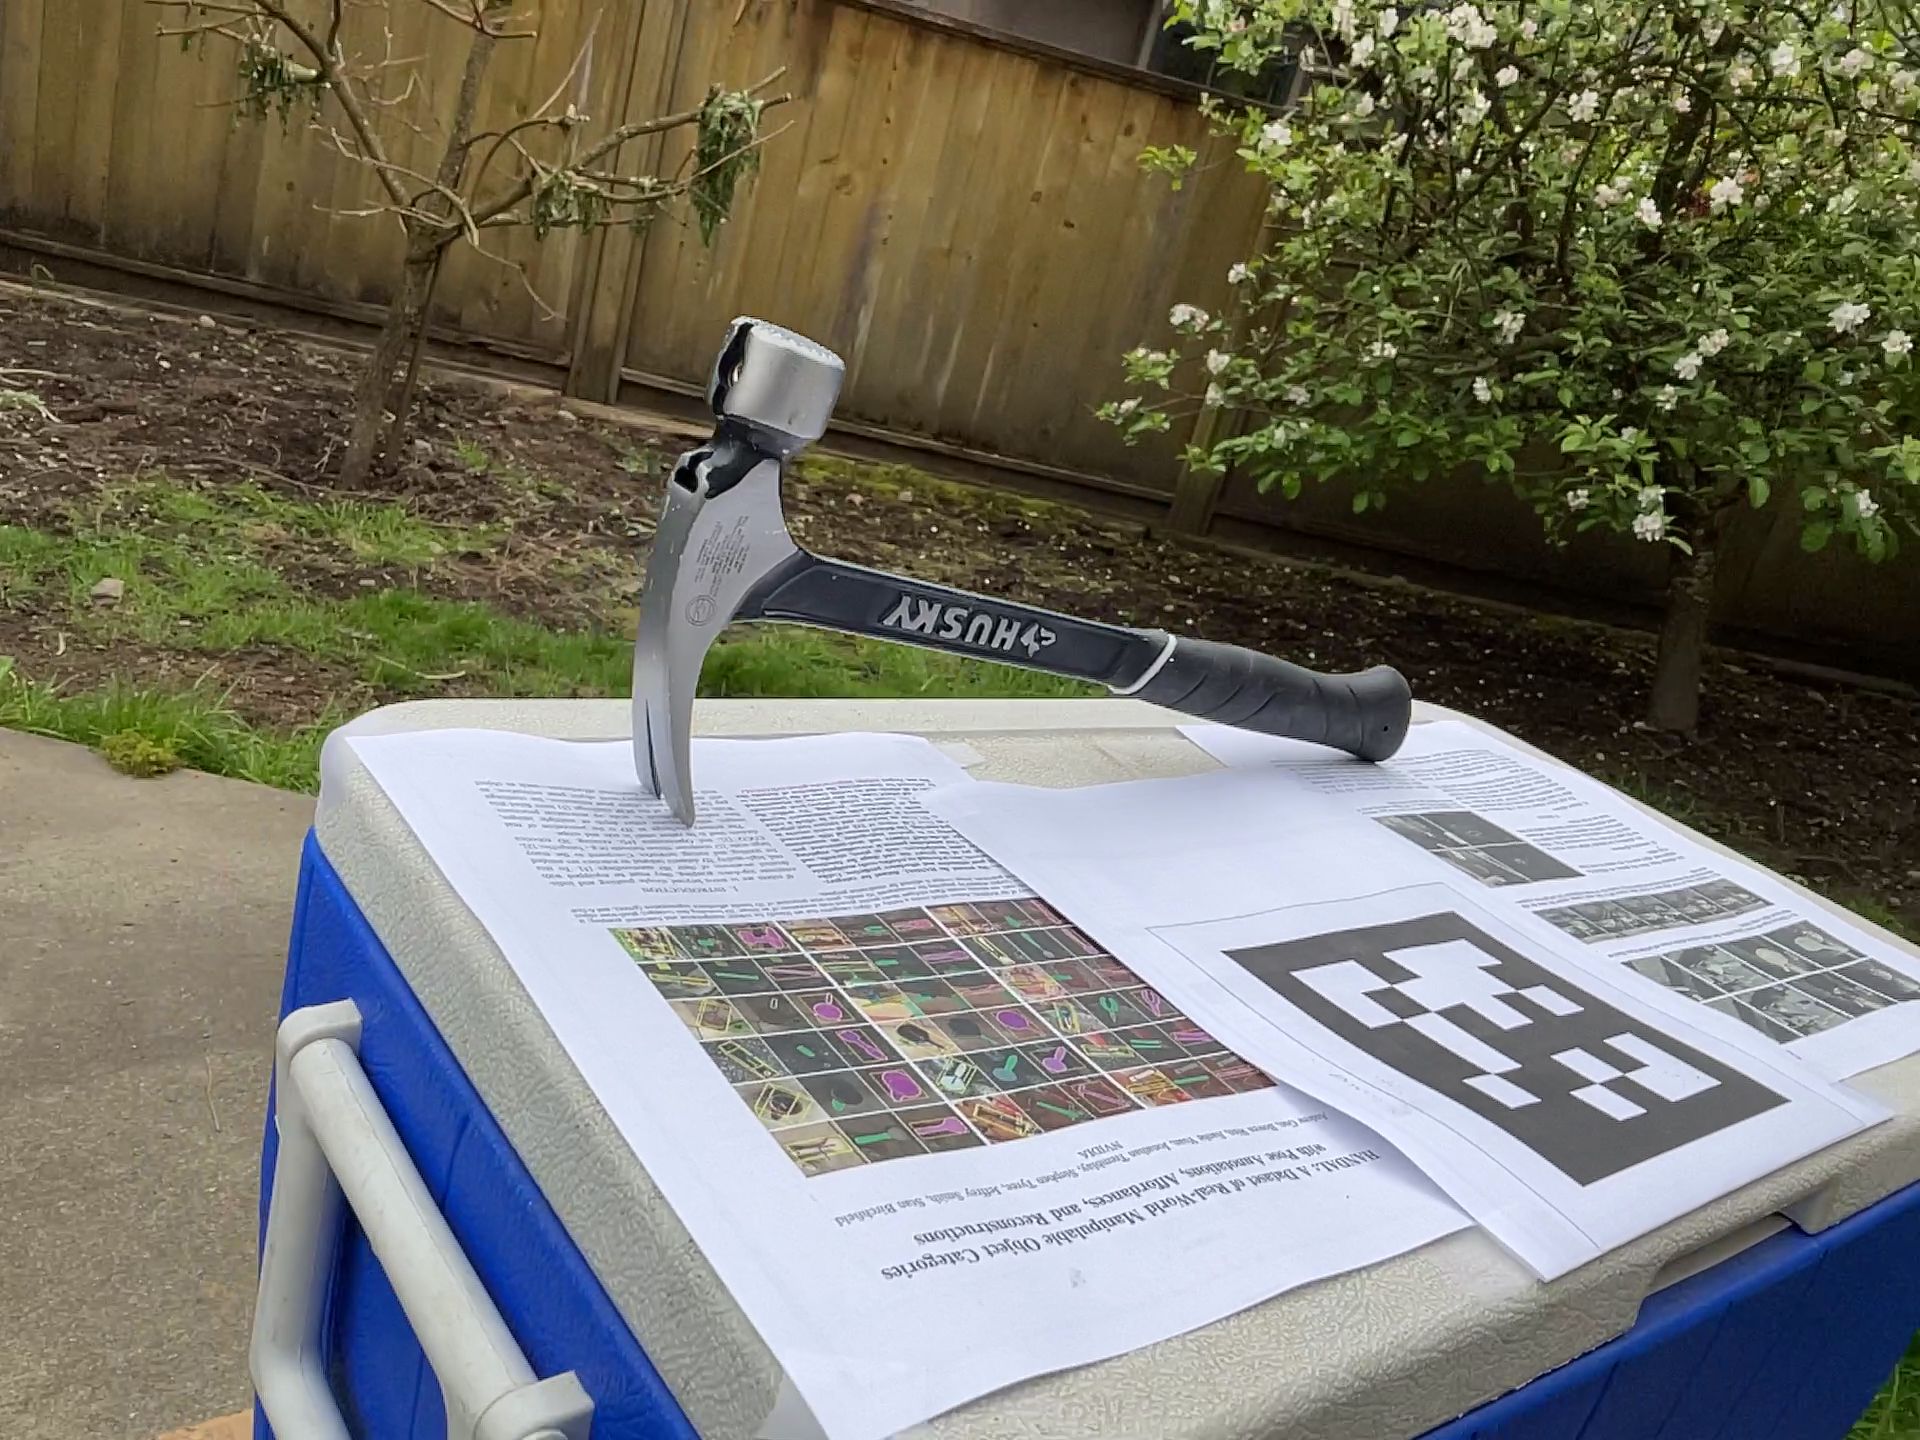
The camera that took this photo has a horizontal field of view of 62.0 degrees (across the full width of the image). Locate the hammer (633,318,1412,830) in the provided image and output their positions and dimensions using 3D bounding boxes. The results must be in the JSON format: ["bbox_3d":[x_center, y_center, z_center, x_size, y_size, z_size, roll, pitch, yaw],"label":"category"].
[{"bbox_3d":[0.055,-0.018,0.599,0.408,0.149,0.036,10,17,-45],"label":"hammer"}]
